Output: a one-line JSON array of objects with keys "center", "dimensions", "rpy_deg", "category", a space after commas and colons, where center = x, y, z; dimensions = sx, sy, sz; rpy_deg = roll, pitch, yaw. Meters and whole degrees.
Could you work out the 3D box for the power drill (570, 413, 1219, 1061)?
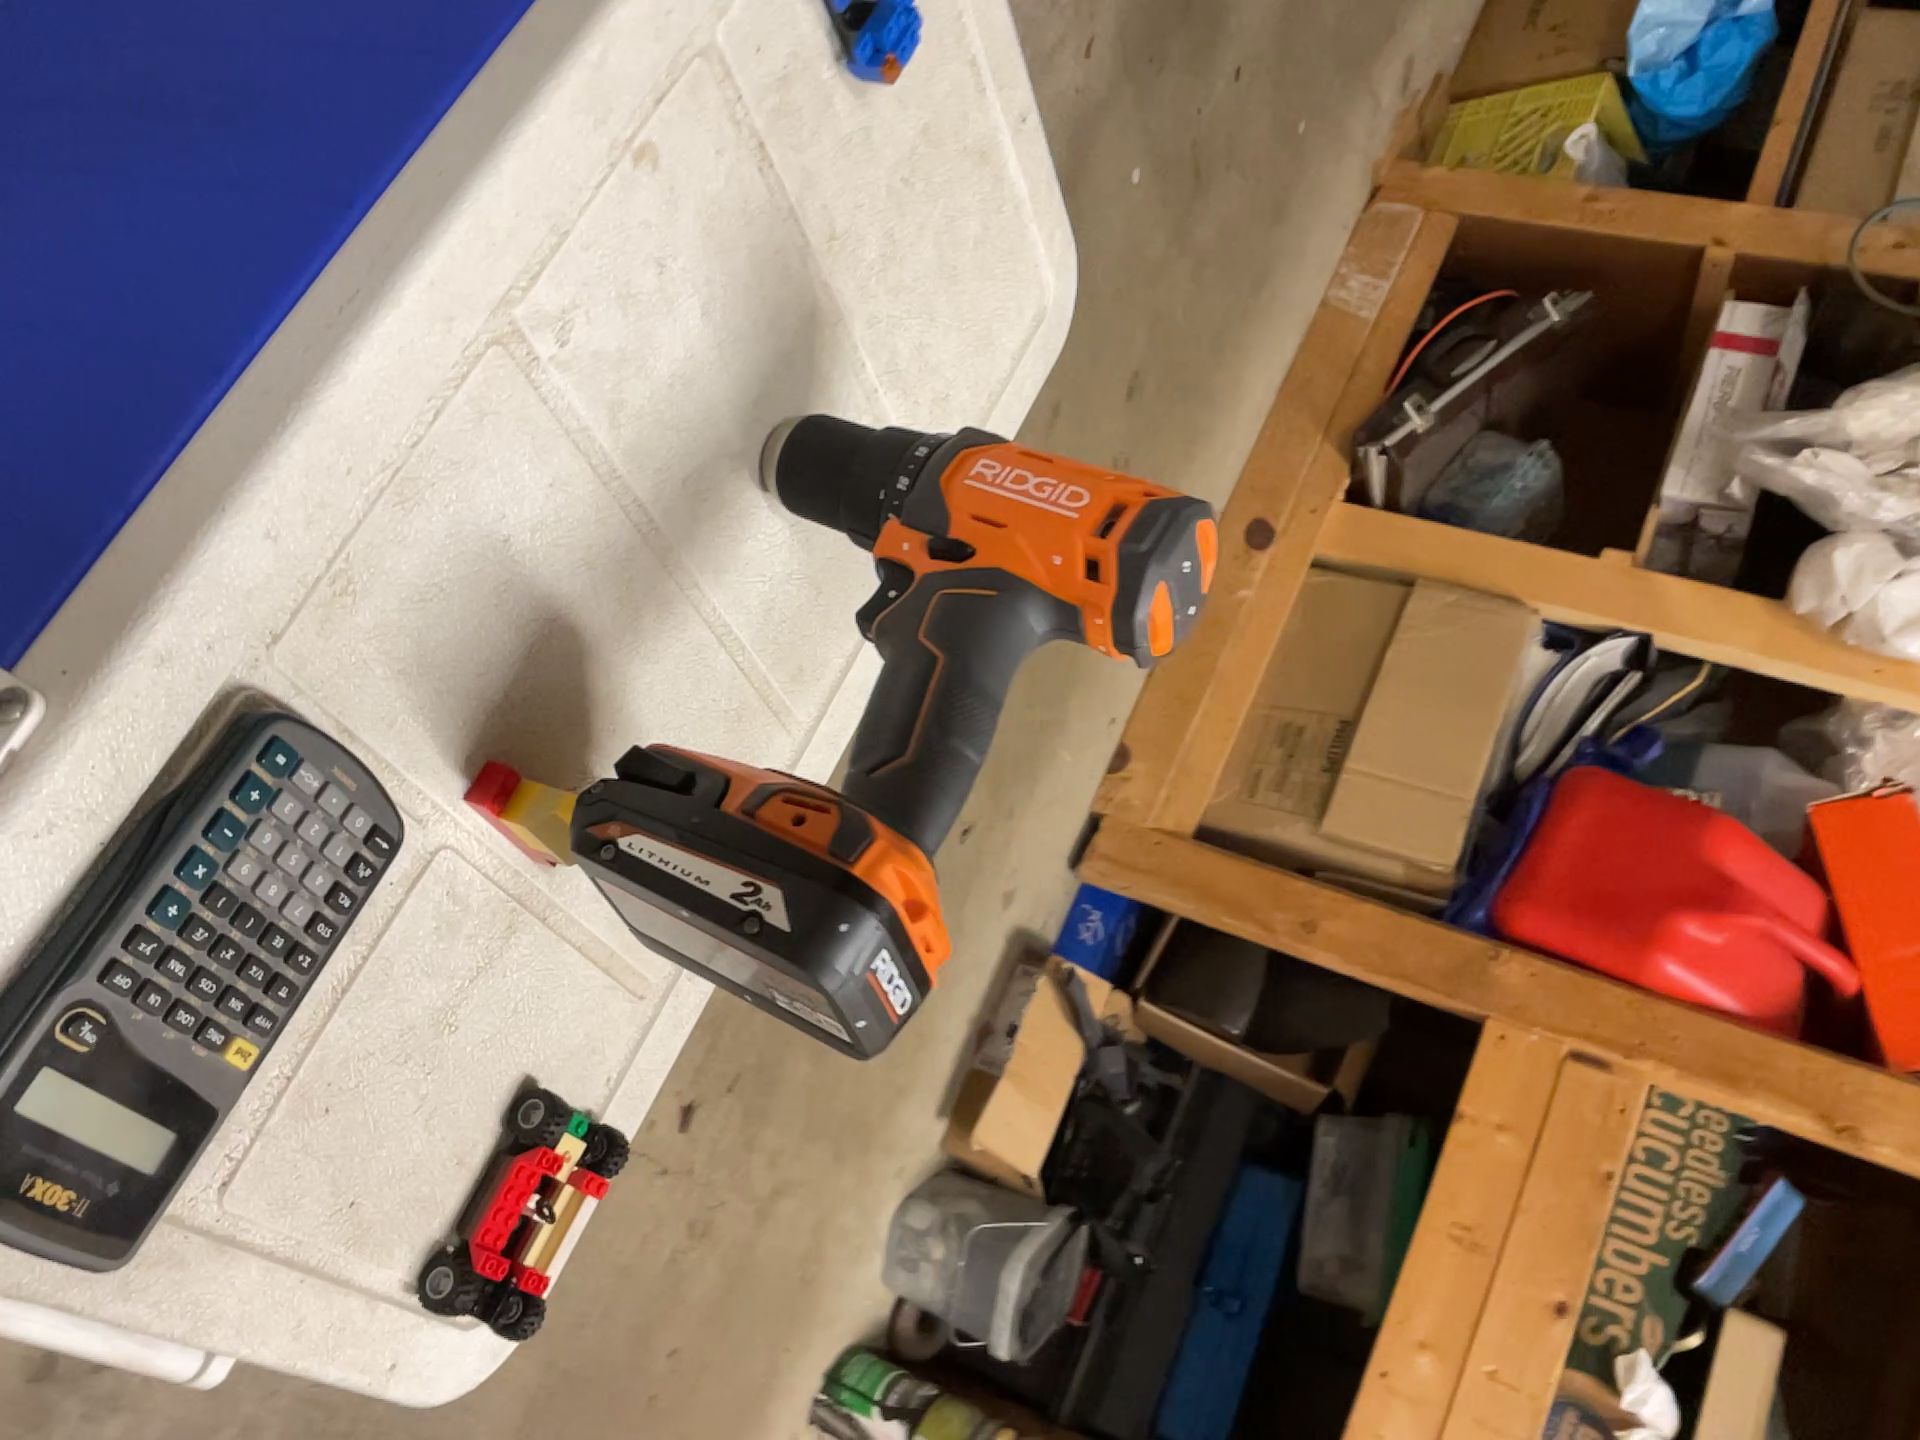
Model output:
[{"center": [-0.039, -0.017, 0.564], "dimensions": [0.226, 0.185, 0.084], "rpy_deg": [-55, 151, -24], "category": "power drill"}]
